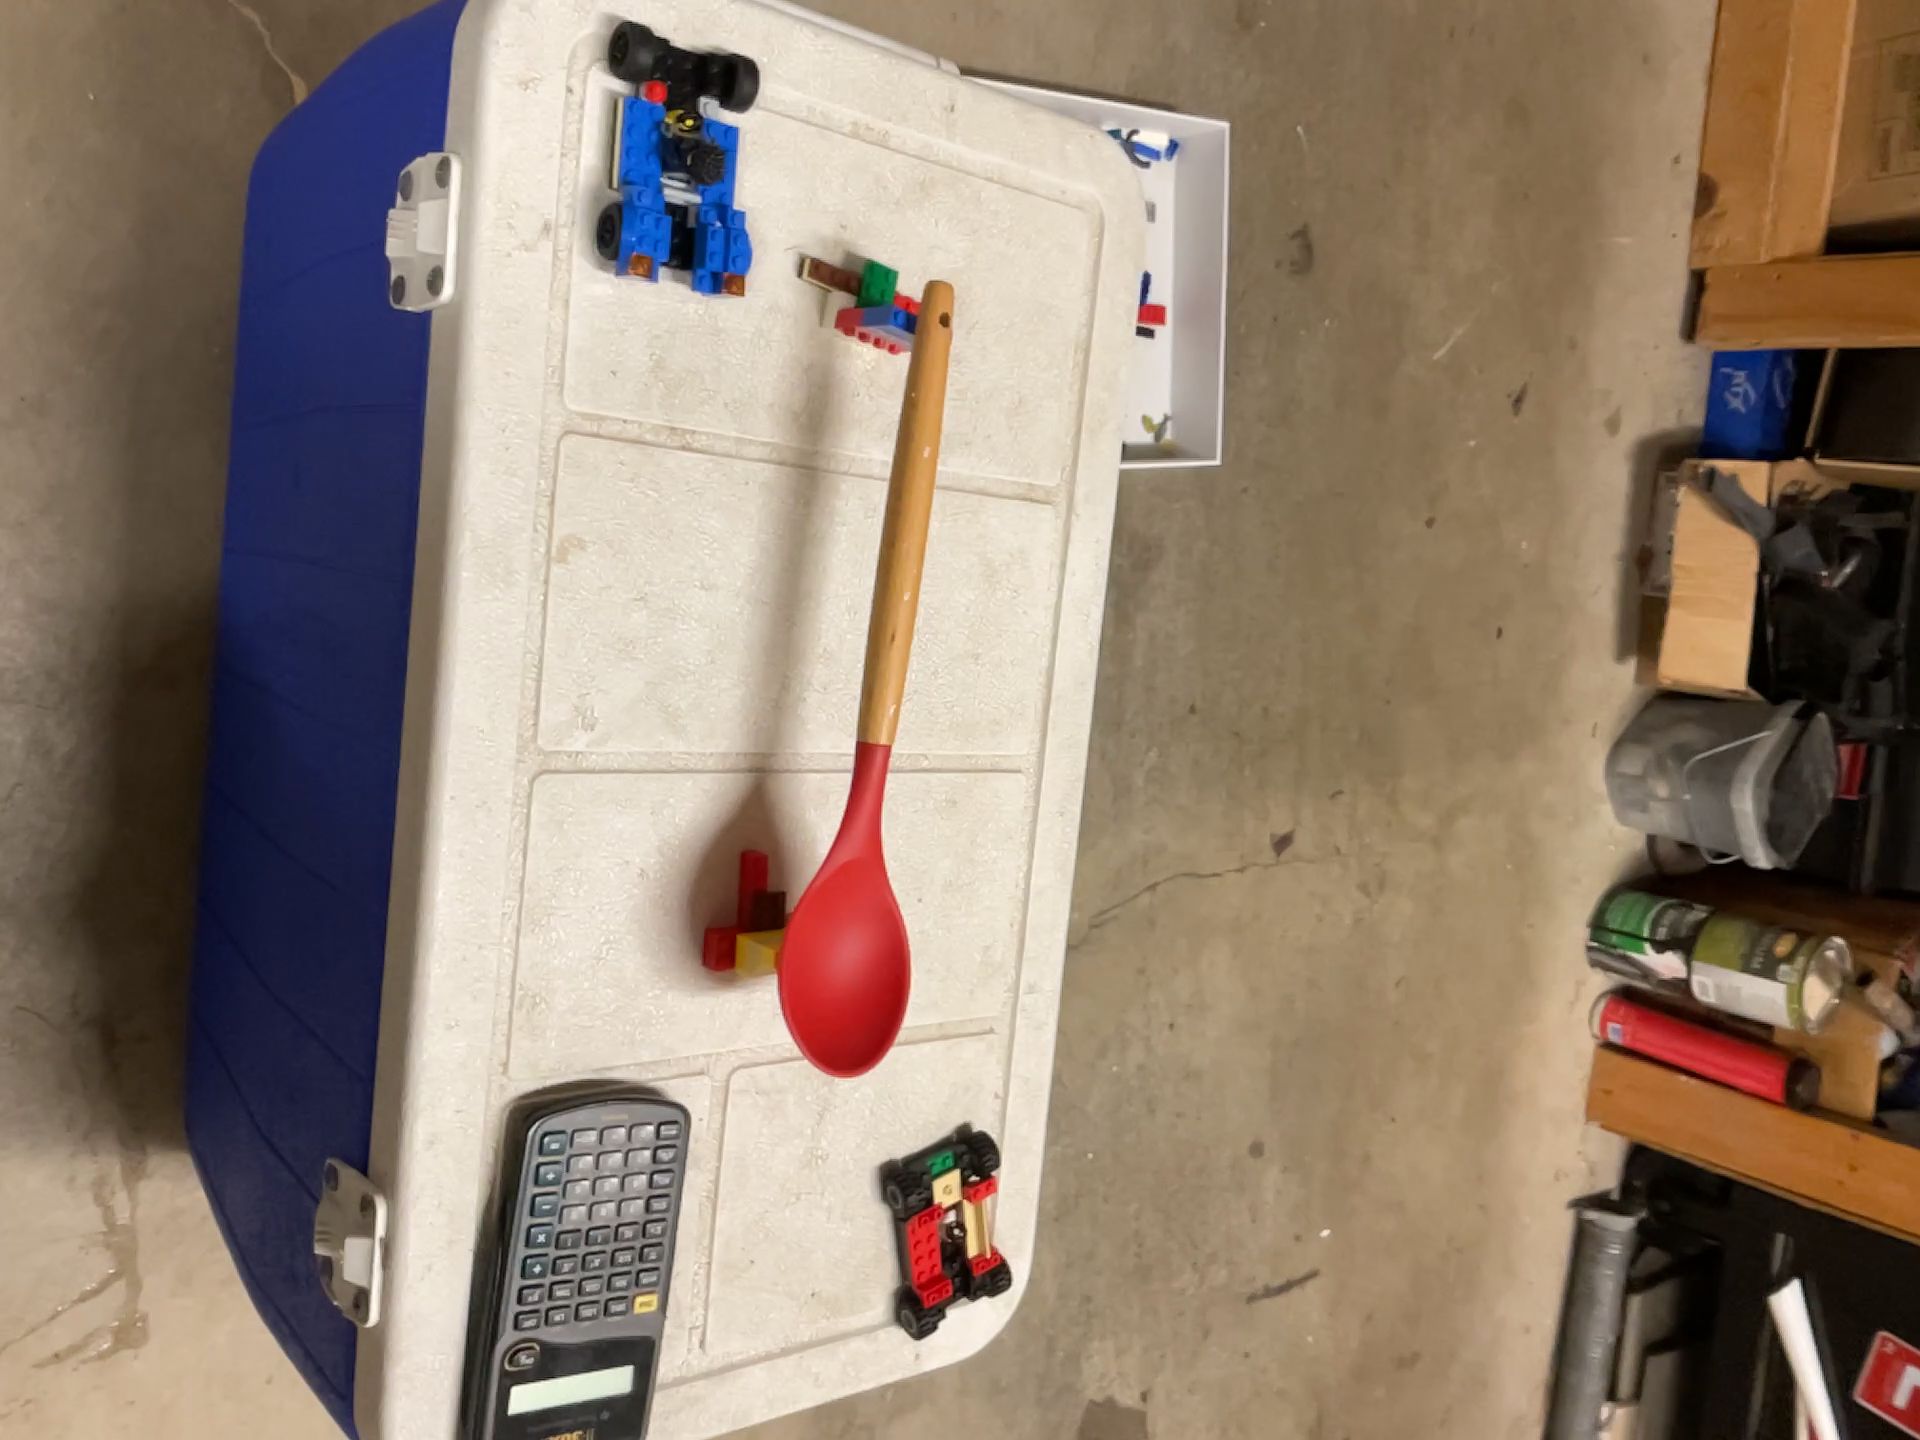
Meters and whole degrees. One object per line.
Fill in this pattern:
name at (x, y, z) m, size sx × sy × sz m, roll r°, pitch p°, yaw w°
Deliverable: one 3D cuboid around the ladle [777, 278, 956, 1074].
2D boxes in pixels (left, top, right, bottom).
ladle at (-0.030, -0.018, 0.636) m, size 0.069 × 0.031 × 0.315 m, roll 6°, pitch 94°, yaw -45°
